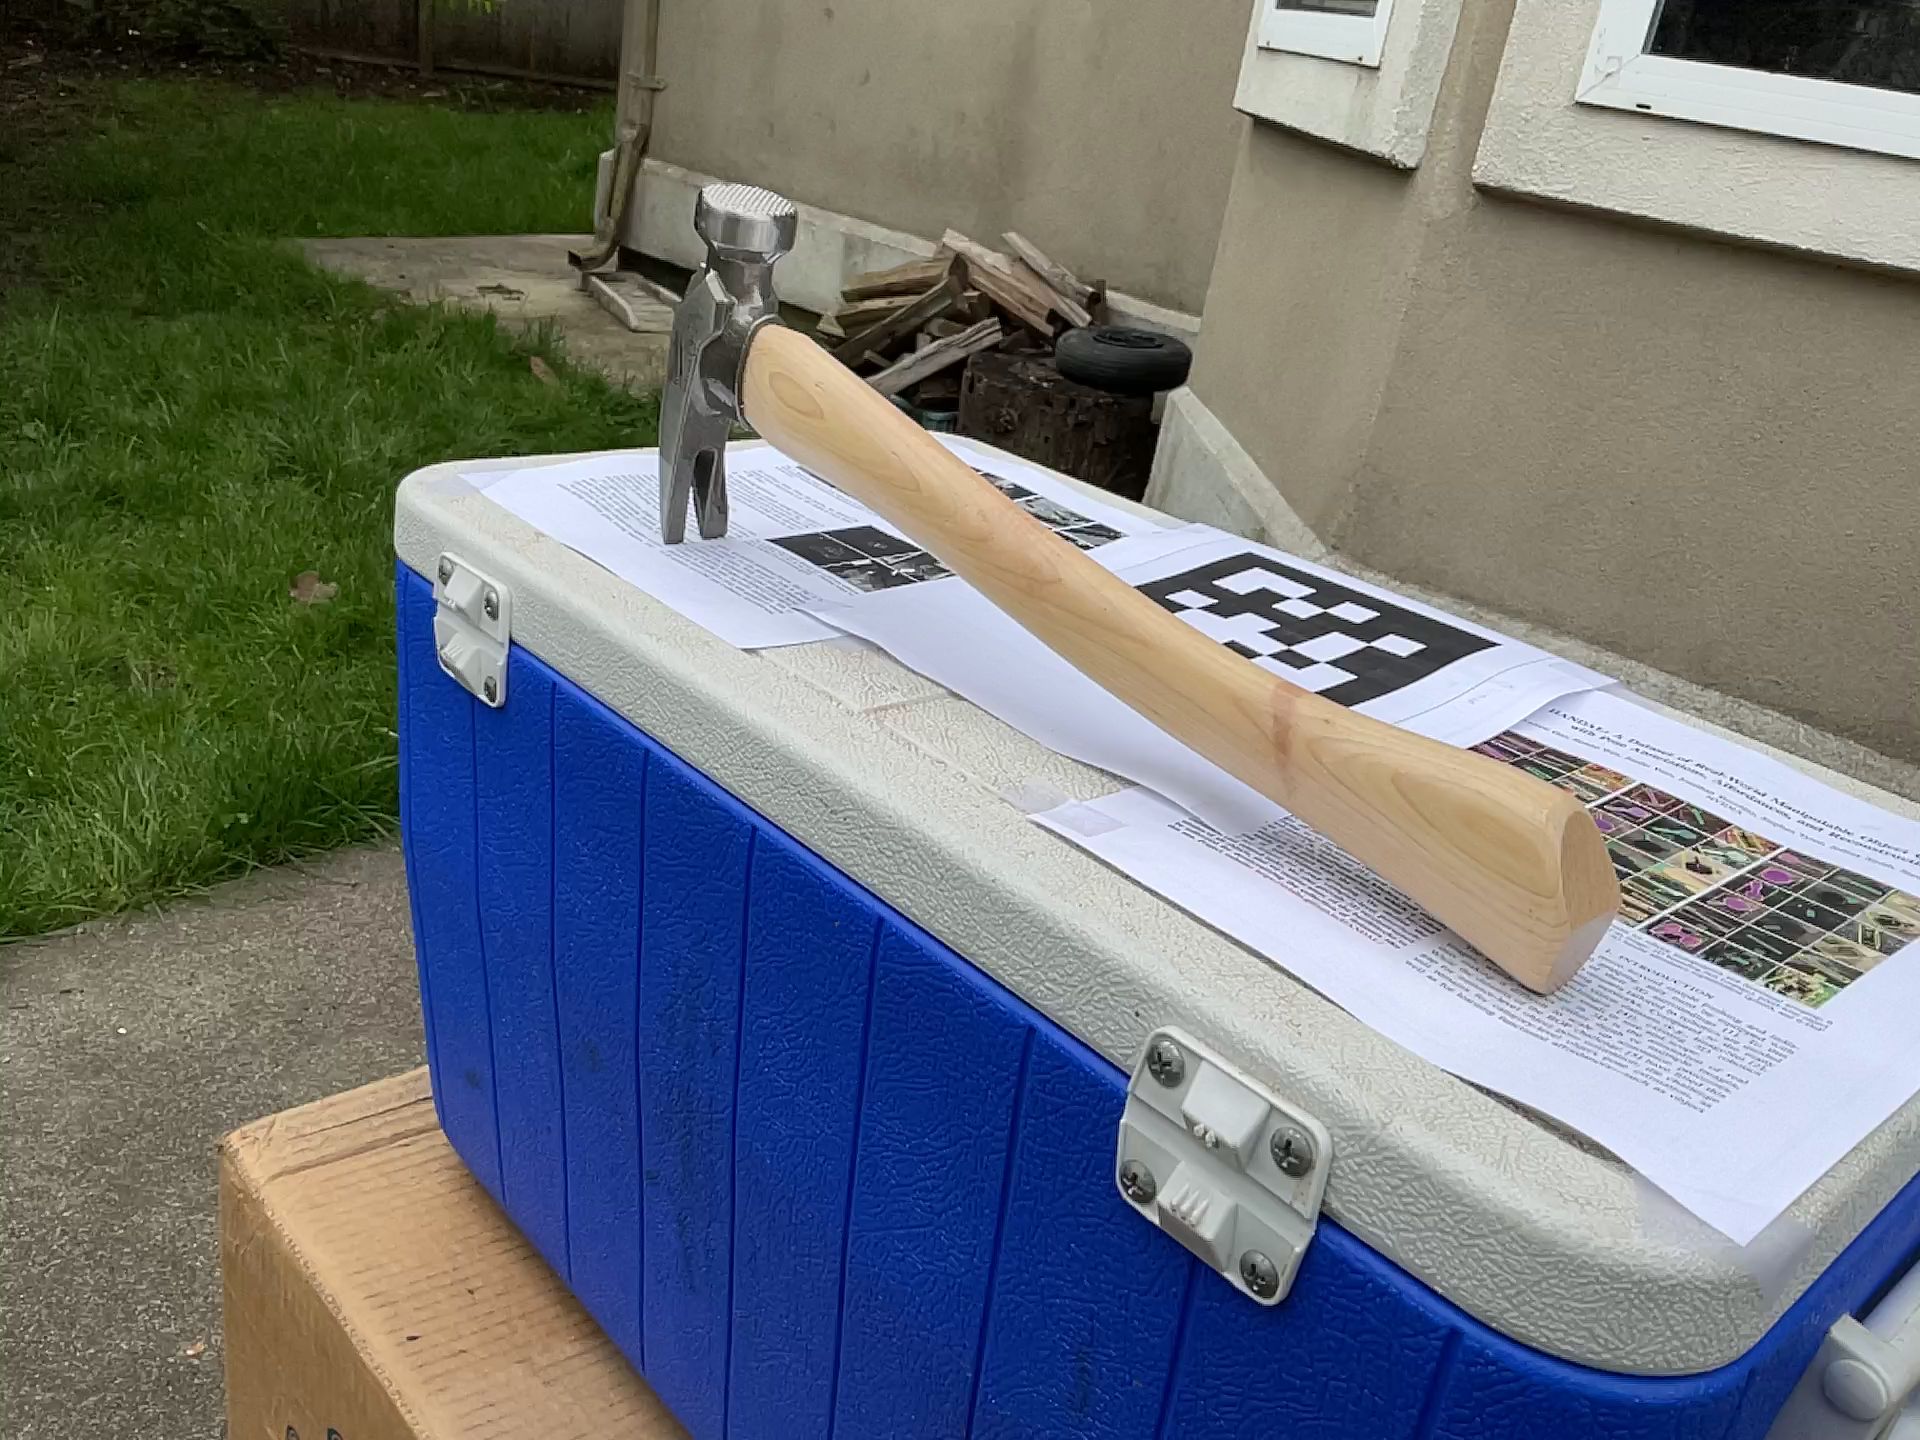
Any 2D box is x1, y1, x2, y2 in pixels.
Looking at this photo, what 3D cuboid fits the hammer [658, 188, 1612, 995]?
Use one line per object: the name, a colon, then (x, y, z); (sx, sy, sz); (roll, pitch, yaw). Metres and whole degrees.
hammer: (0.024, -0.039, 0.536); (0.038, 0.146, 0.411); (-15, 42, -41)
